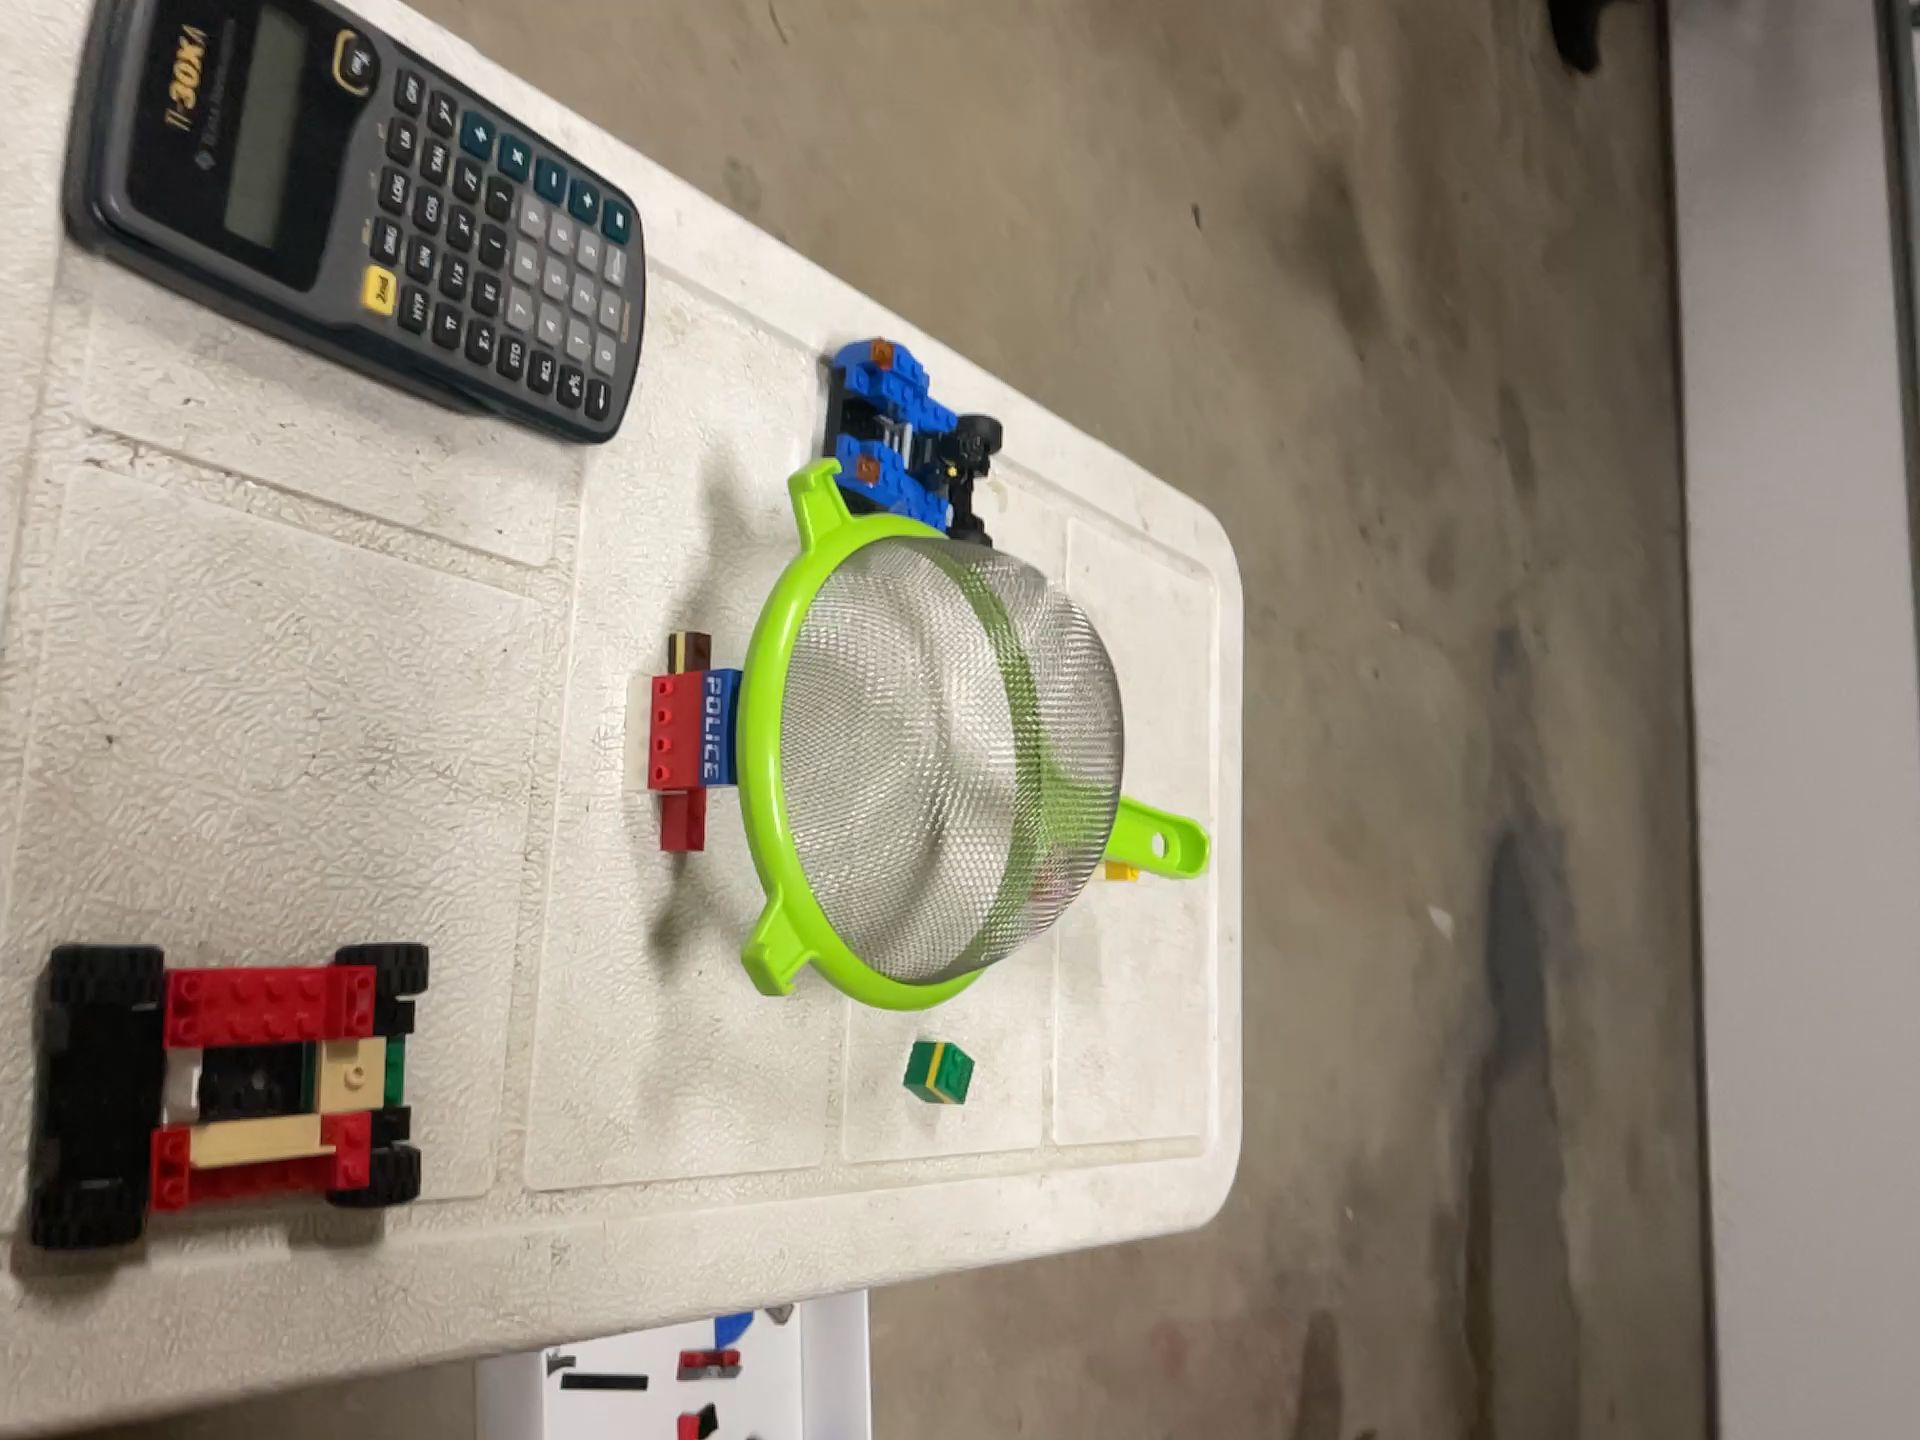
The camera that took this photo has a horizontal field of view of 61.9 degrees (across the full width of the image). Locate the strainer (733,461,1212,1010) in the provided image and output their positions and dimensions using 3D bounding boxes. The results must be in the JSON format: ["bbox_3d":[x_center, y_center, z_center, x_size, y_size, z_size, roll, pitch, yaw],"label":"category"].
[{"bbox_3d":[0.037,0.021,0.516,0.256,0.069,0.152,21,67,-51],"label":"strainer"}]
